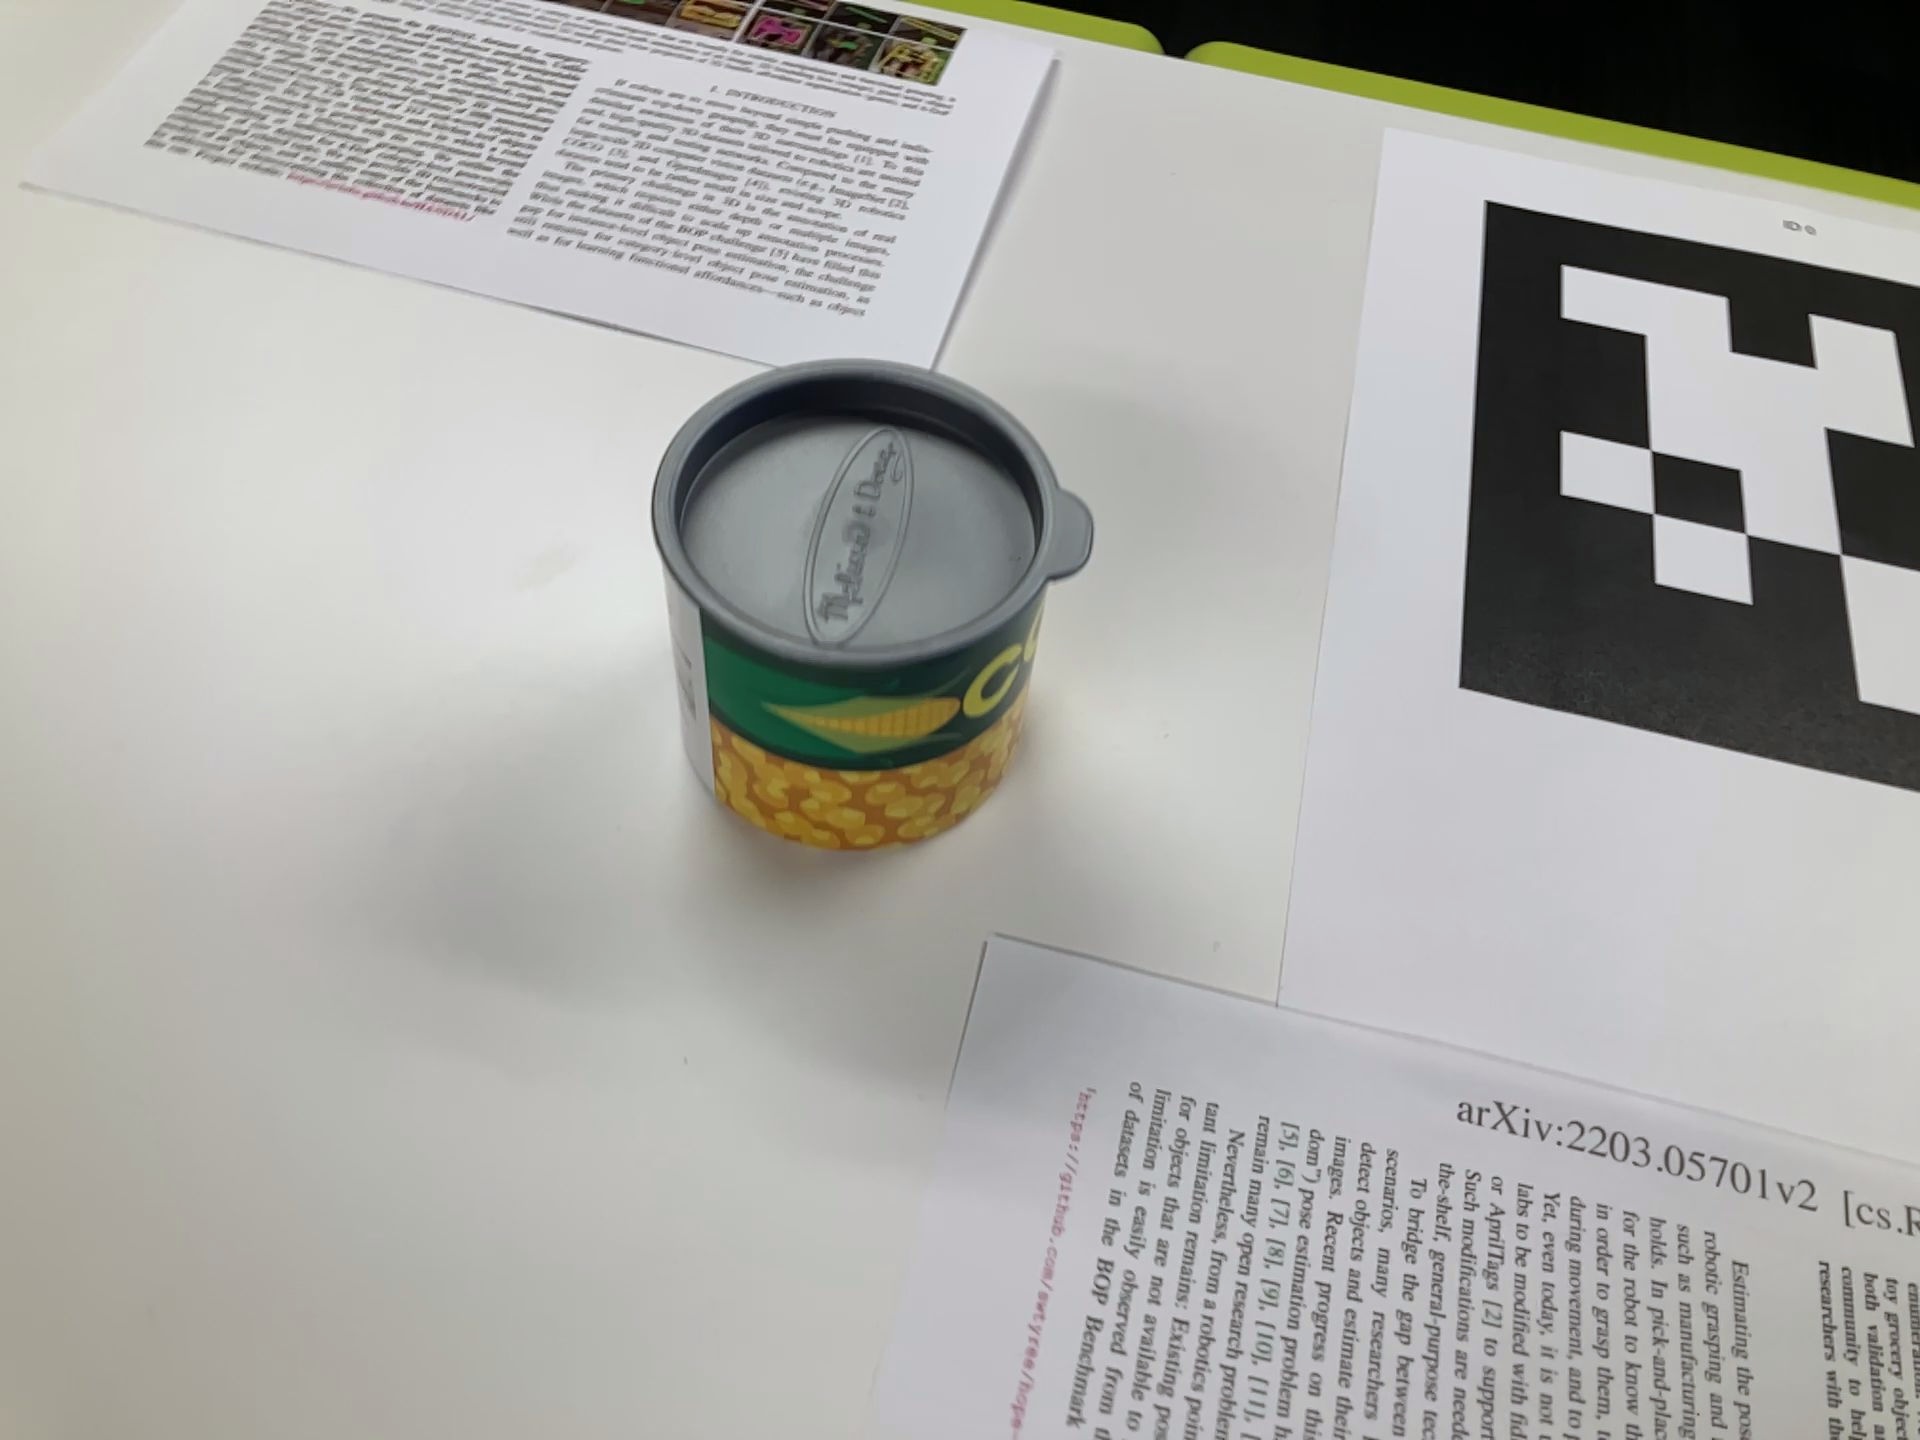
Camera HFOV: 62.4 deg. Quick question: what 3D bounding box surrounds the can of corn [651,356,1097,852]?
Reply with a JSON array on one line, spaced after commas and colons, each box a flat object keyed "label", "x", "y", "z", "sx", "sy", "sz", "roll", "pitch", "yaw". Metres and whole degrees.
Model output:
[{"label": "can of corn", "x": -0.016, "y": -0.019, "z": 0.276, "sx": 0.071, "sy": 0.058, "sz": 0.071, "roll": 3, "pitch": 54, "yaw": -4}]
